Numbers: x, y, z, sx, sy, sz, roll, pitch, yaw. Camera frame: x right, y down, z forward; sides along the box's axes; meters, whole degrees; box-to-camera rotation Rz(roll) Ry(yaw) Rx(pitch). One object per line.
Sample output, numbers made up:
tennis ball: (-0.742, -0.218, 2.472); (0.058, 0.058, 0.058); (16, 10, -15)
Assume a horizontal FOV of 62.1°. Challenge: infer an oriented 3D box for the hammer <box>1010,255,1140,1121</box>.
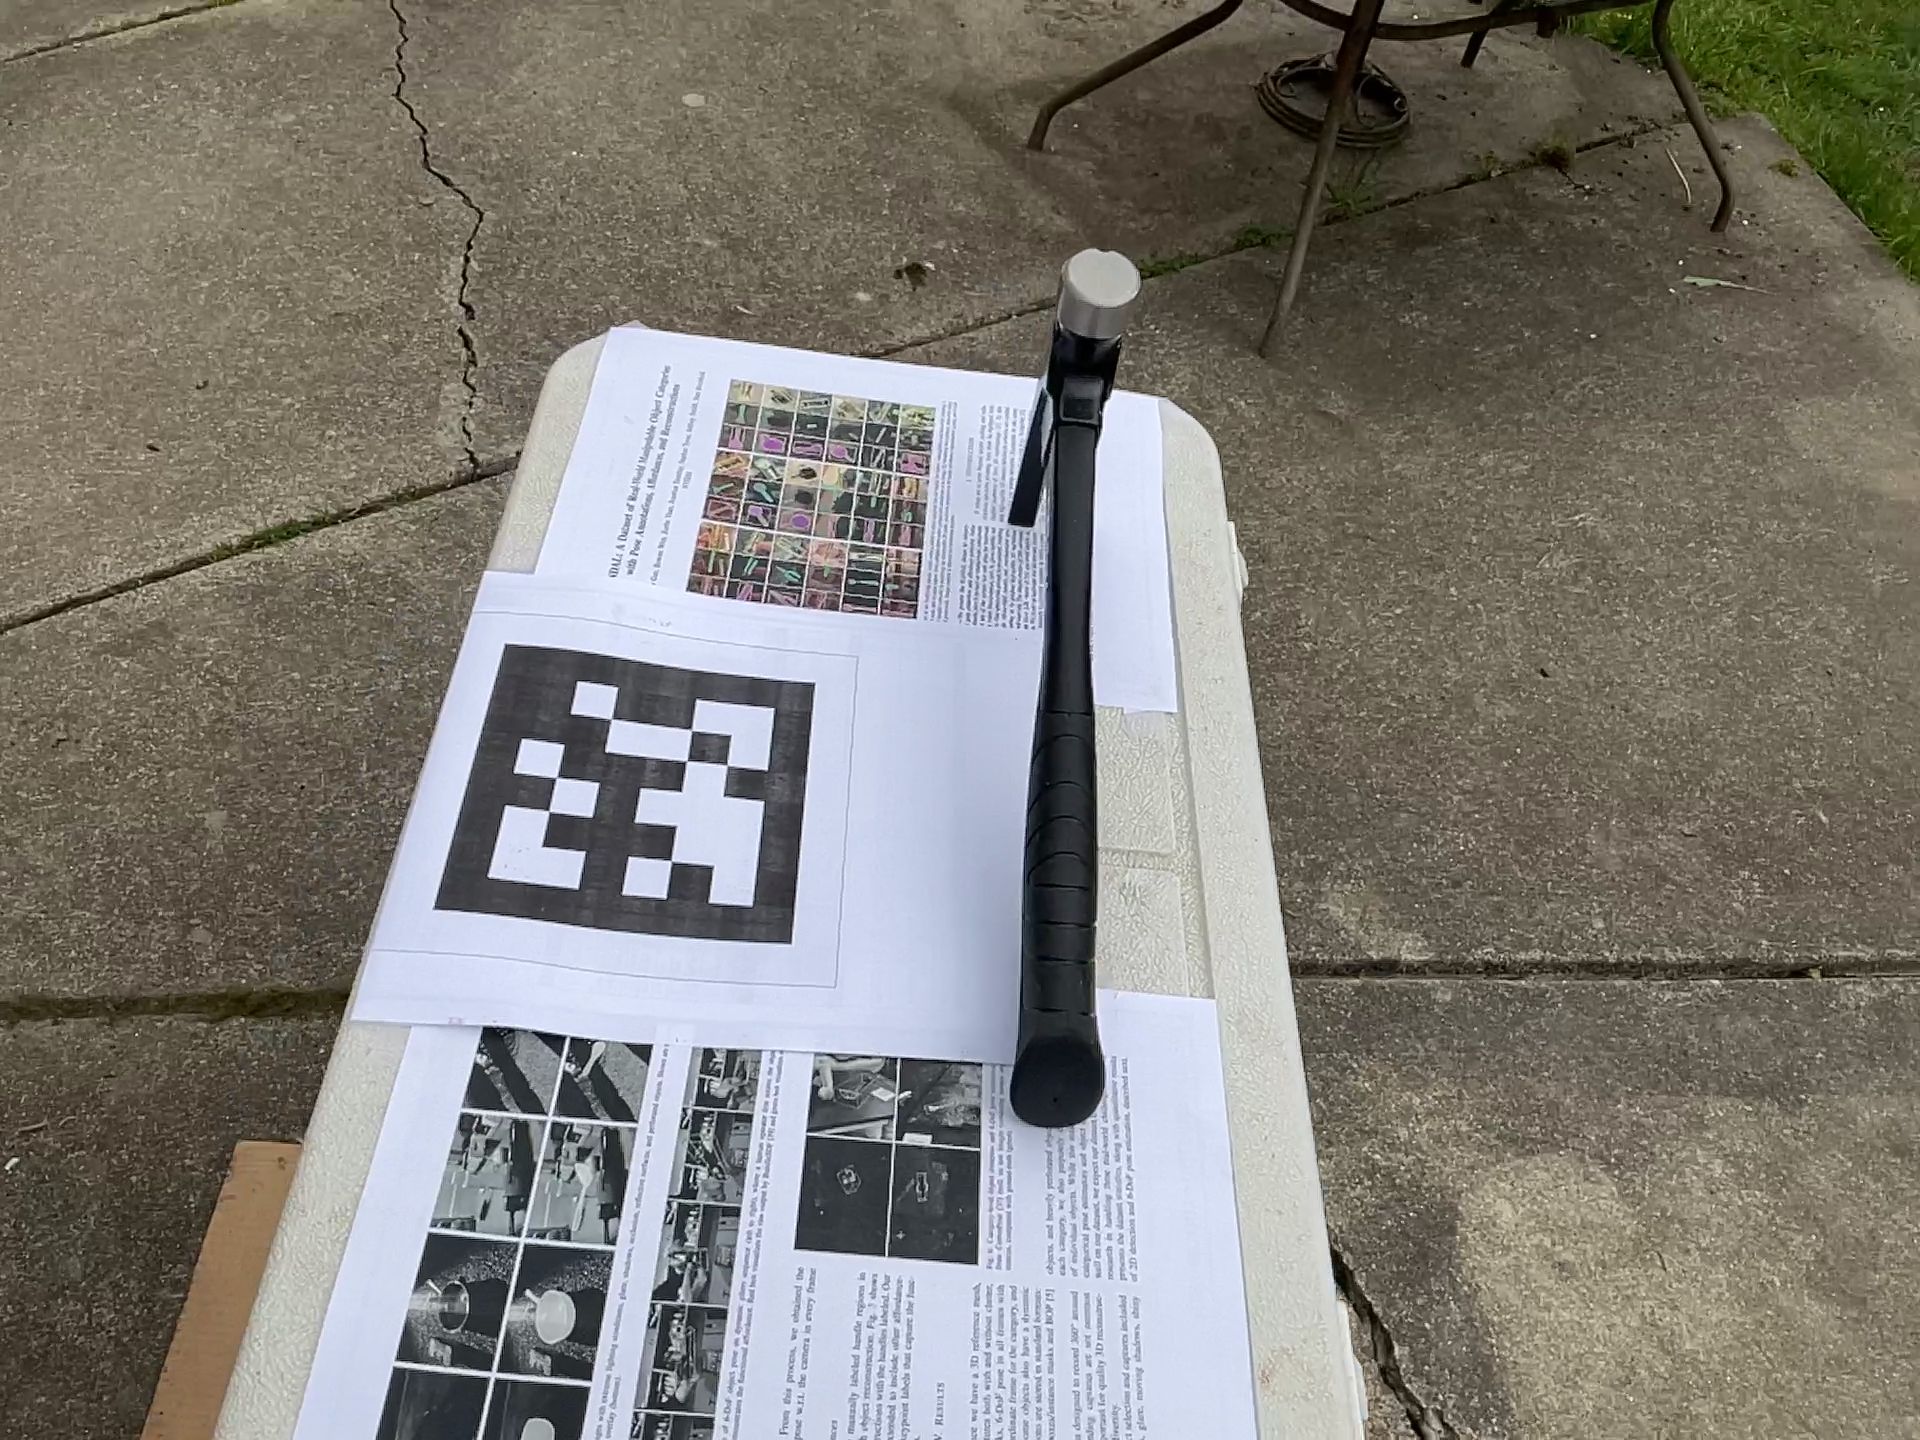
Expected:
hammer: (0.041, -0.011, 0.628); (0.035, 0.146, 0.335); (6, 60, -3)
